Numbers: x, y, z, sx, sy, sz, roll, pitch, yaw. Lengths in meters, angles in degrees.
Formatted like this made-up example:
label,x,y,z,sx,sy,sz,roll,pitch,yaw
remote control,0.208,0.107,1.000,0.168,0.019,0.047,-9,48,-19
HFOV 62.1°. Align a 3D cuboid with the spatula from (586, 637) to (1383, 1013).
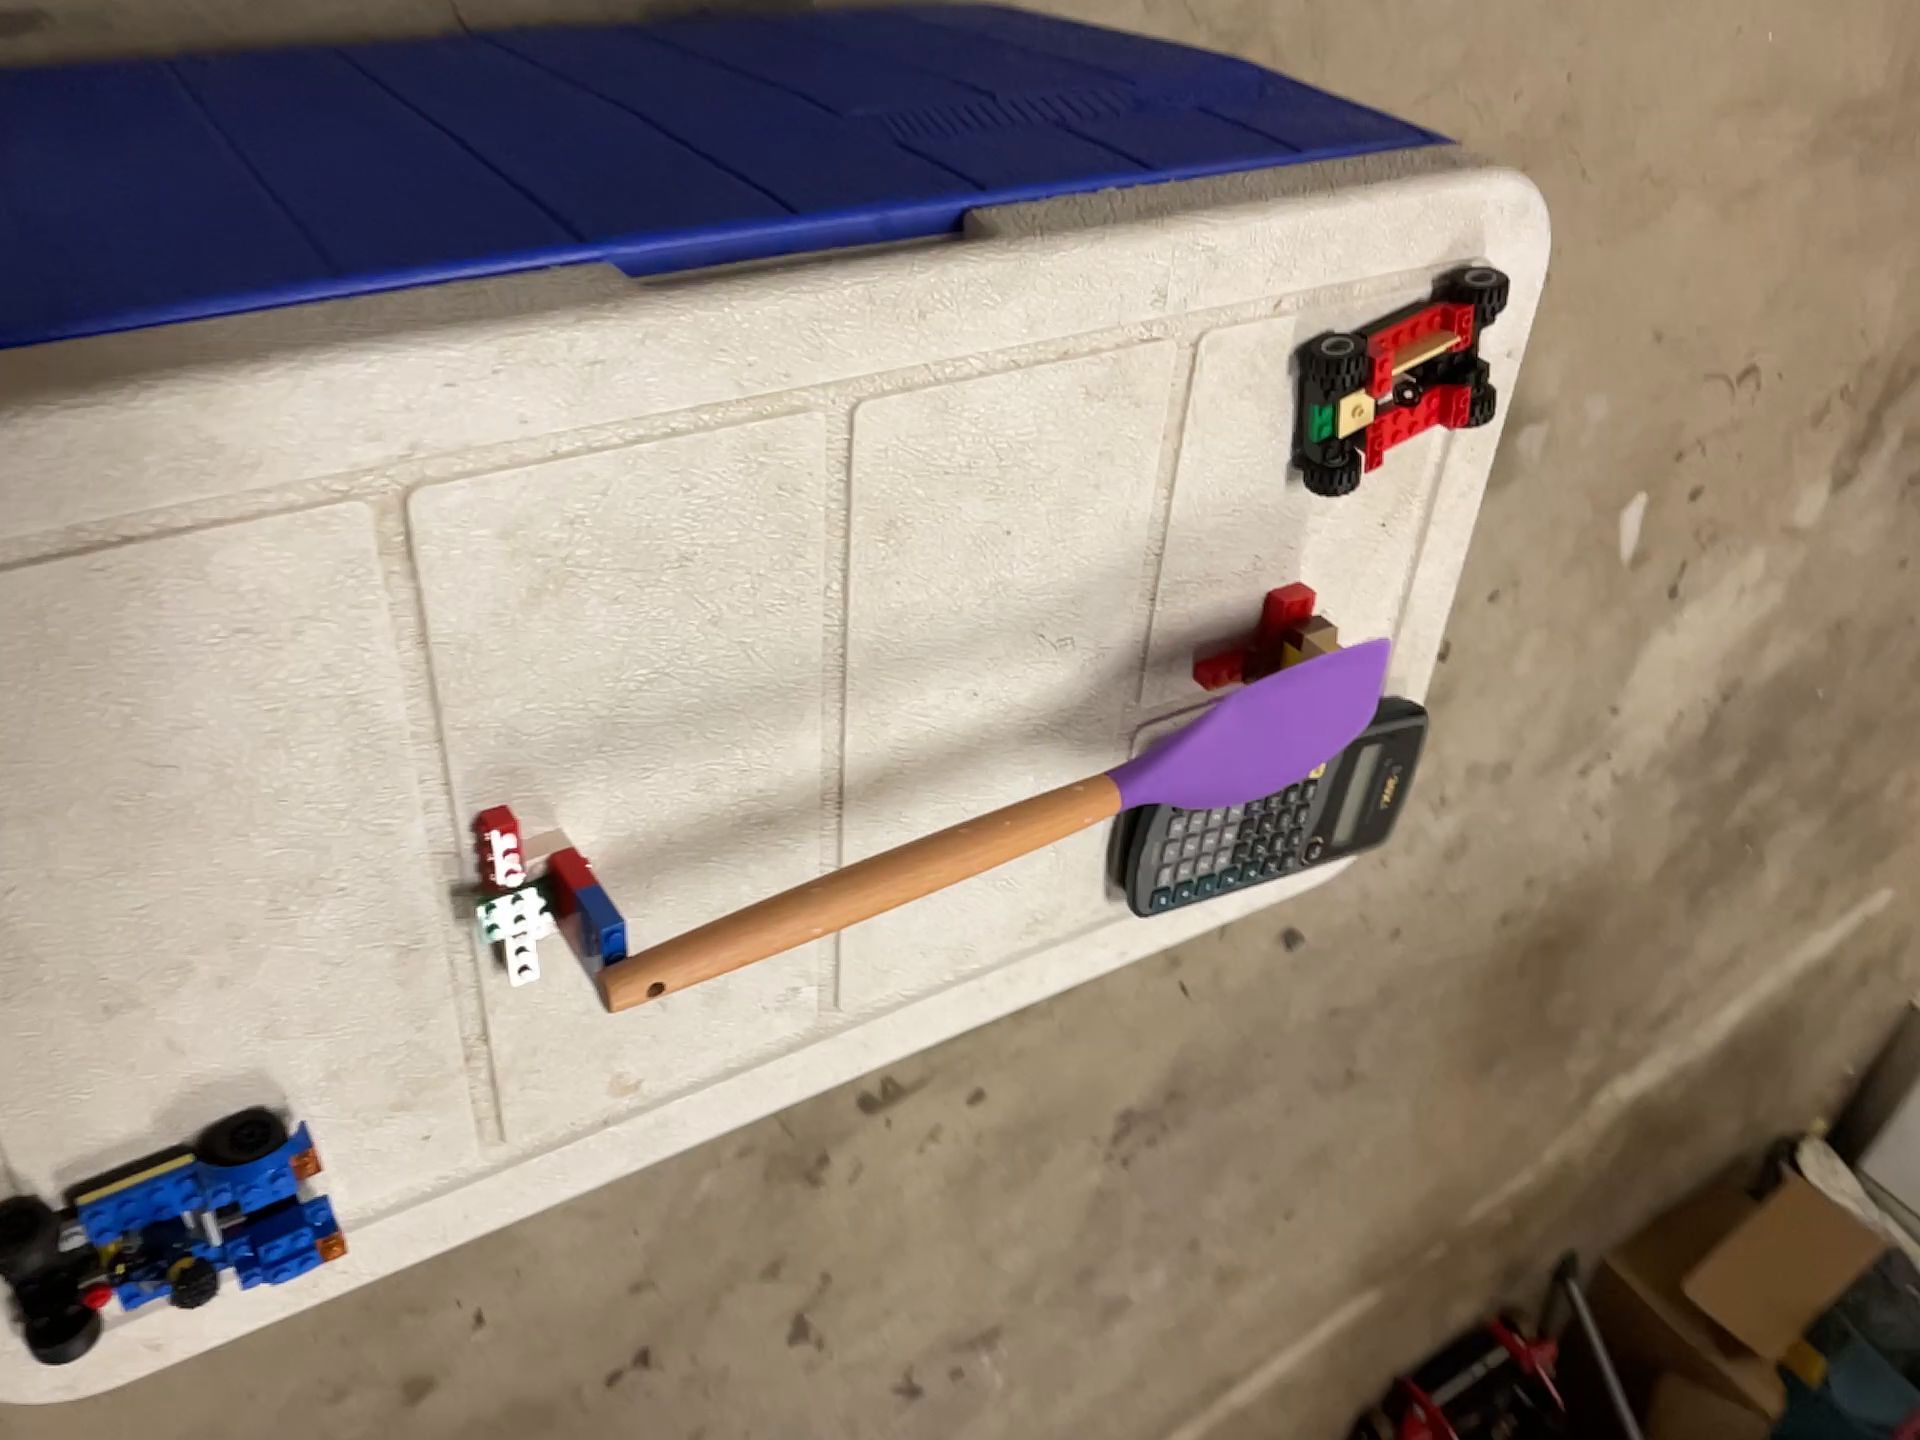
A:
label,x,y,z,sx,sy,sz,roll,pitch,yaw
spatula,0.026,0.035,0.534,0.316,0.018,0.059,-19,131,-29
